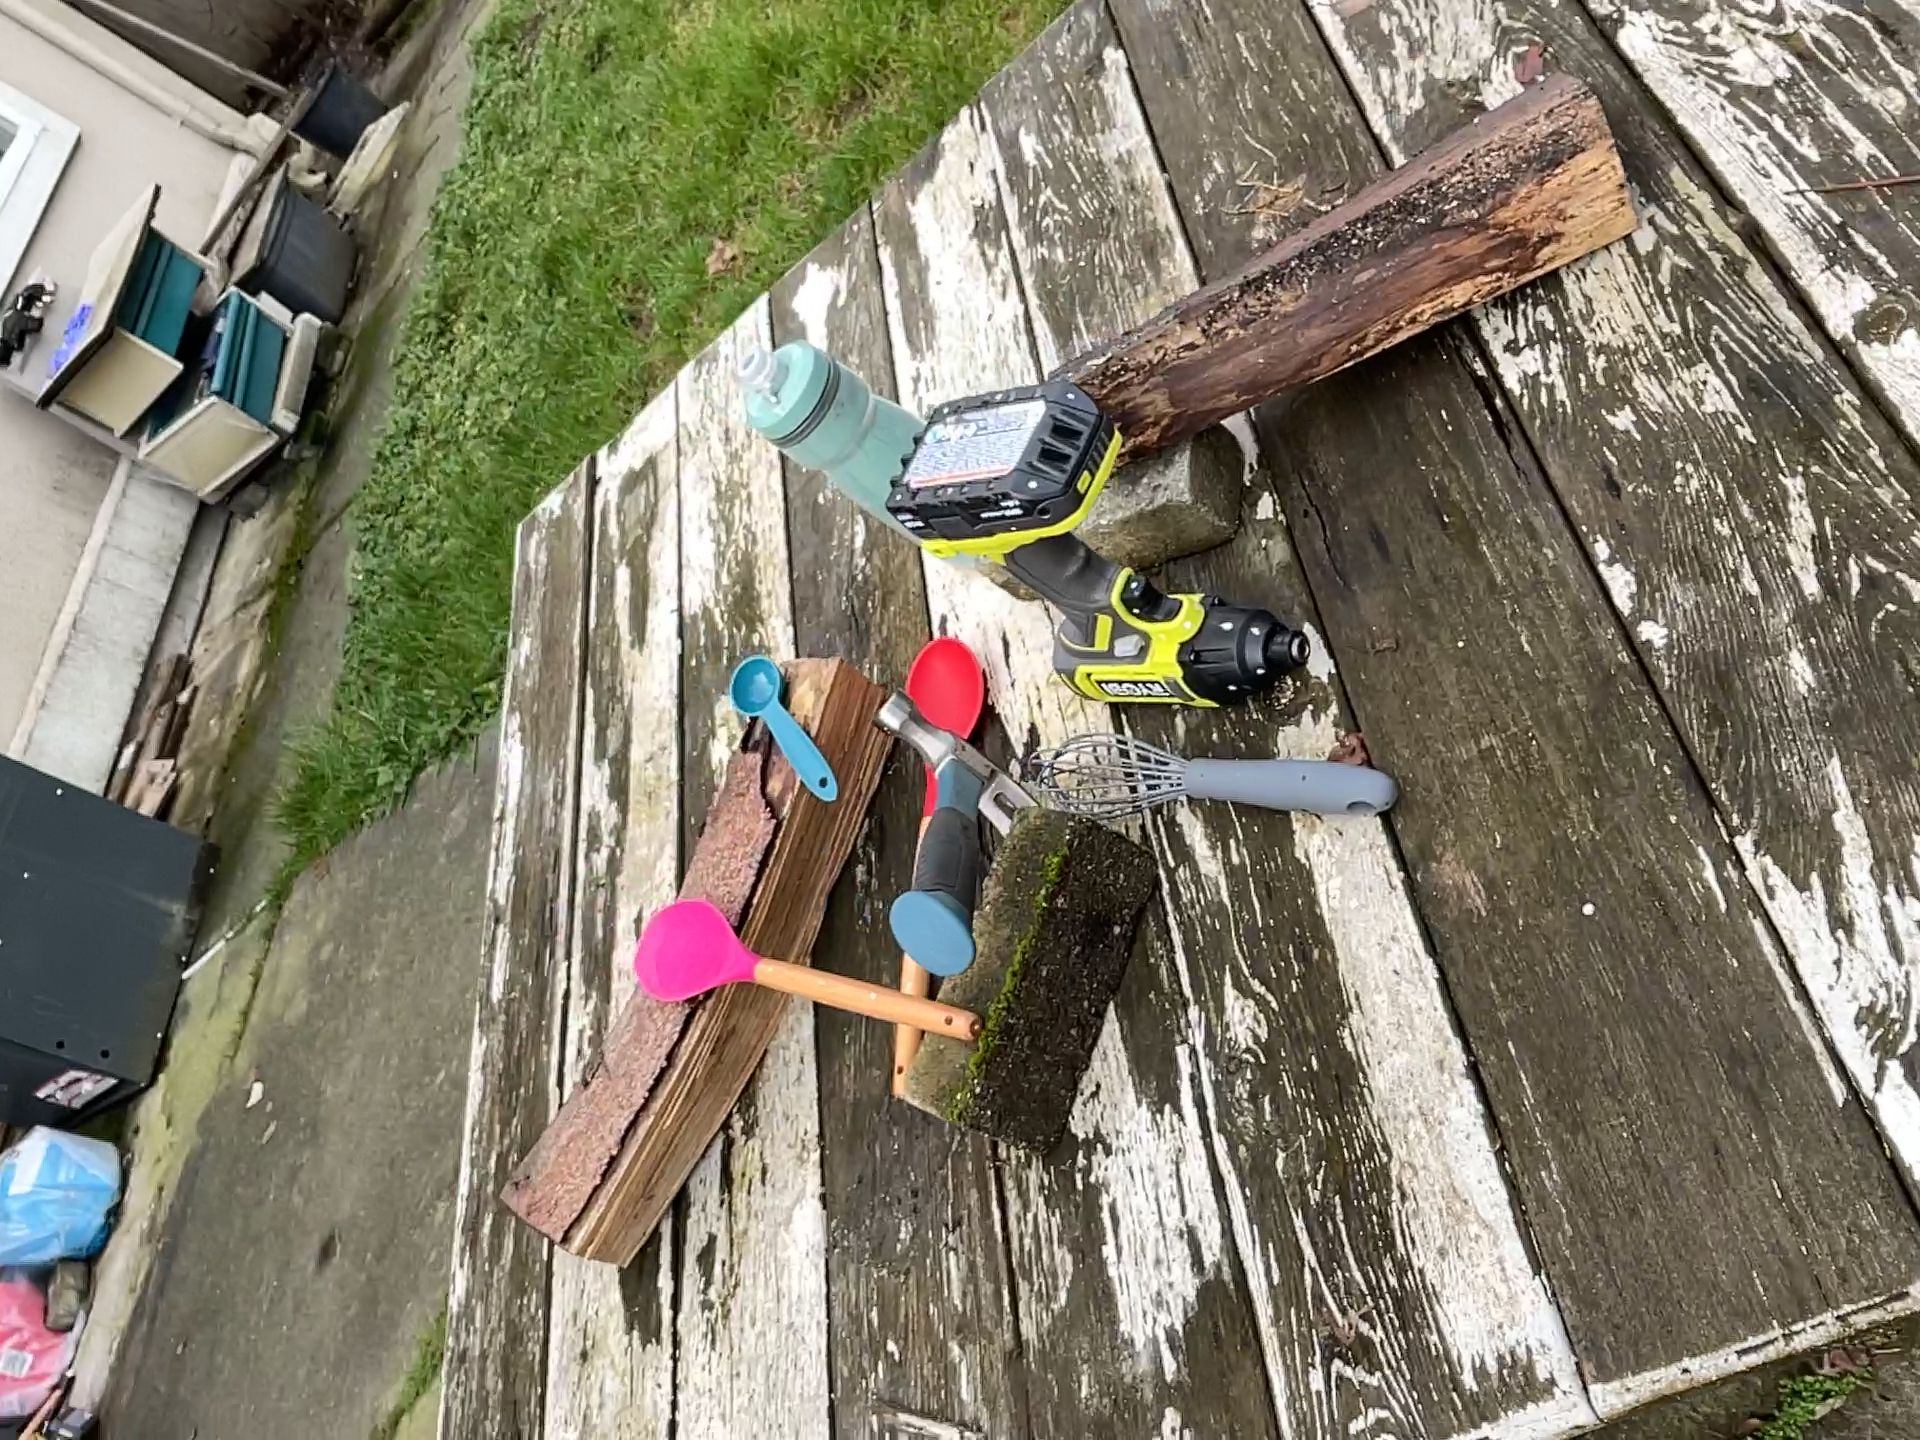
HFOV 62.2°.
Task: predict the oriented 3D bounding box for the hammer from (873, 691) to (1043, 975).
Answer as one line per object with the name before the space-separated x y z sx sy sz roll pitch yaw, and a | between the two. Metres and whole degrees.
hammer | -0.005 0.064 0.891 0.033 0.128 0.331 -52 6 12

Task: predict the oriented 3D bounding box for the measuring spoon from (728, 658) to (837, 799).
measuring spoon | -0.116 0.008 1.089 0.042 0.021 0.129 -47 61 14

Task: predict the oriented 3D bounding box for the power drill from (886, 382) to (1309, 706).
power drill | 0.081 -0.085 0.898 0.171 0.222 0.080 1 59 47

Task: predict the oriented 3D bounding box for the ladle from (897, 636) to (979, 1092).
ladle | -0.021 0.089 1.055 0.069 0.031 0.316 -18 55 38

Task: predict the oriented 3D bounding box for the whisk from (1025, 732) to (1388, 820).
whisk | 0.131 0.033 0.896 0.239 0.055 0.055 0 74 45

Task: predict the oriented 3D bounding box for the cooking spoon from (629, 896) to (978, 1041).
cooking spoon | -0.107 0.157 0.972 0.319 0.017 0.069 5 68 45
